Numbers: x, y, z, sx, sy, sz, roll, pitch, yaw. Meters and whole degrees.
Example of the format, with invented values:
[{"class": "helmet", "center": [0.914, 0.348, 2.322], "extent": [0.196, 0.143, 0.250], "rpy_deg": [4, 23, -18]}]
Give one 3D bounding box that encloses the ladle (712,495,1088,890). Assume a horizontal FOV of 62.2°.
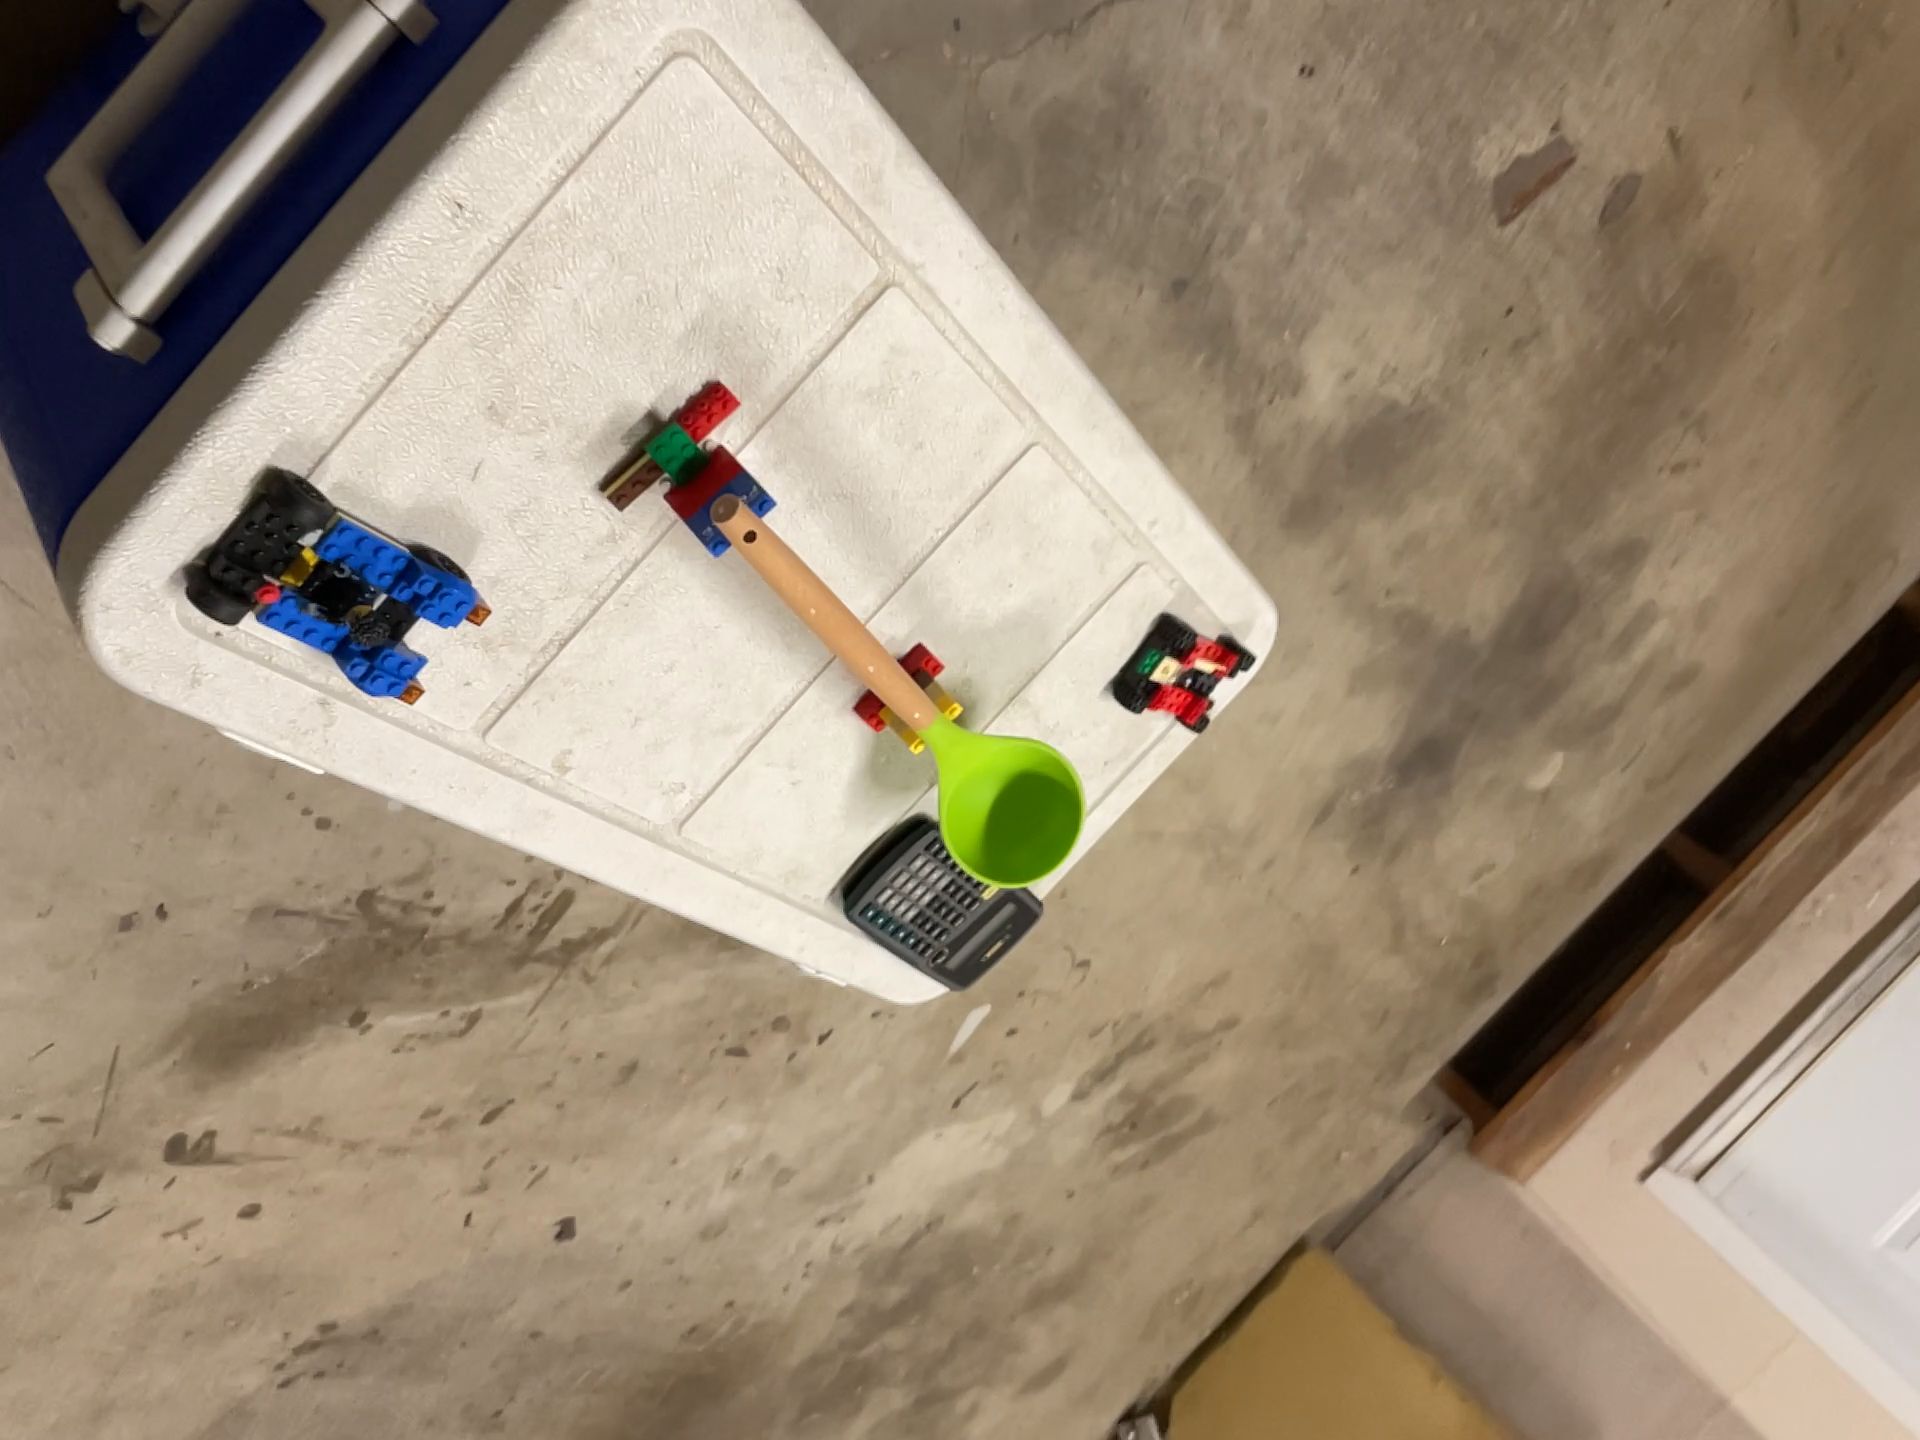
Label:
[{"class": "ladle", "center": [-0.021, -0.005, 0.722], "extent": [0.078, 0.062, 0.319], "rpy_deg": [-42, 145, 0]}]
